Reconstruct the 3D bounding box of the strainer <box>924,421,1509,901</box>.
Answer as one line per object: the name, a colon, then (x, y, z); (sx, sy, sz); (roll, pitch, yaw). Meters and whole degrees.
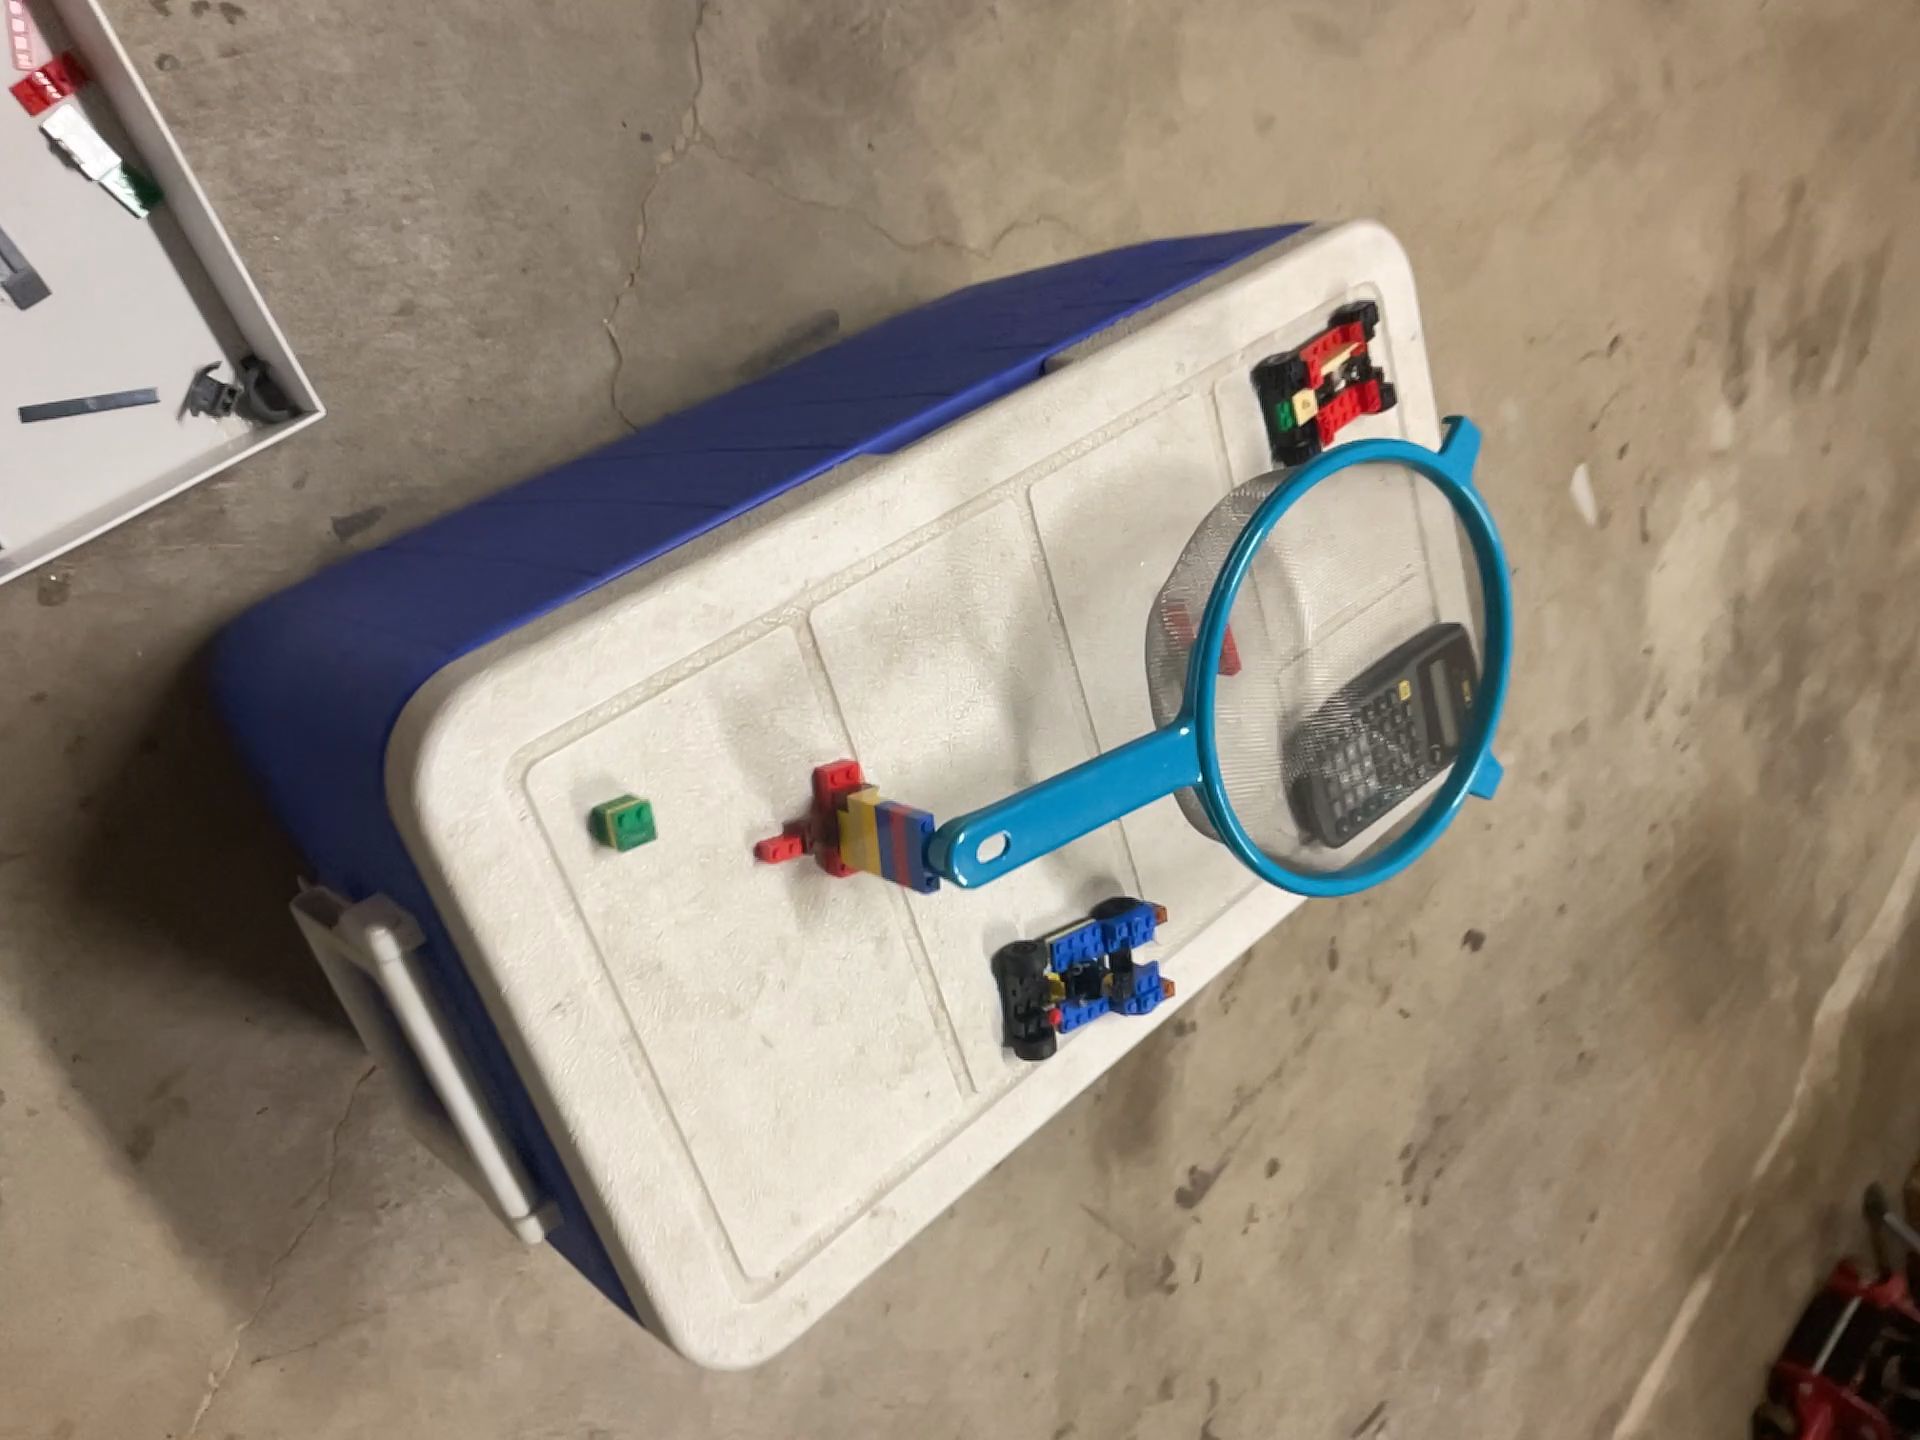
strainer: (0.107, -0.006, 0.728); (0.340, 0.095, 0.210); (-22, 113, -29)
